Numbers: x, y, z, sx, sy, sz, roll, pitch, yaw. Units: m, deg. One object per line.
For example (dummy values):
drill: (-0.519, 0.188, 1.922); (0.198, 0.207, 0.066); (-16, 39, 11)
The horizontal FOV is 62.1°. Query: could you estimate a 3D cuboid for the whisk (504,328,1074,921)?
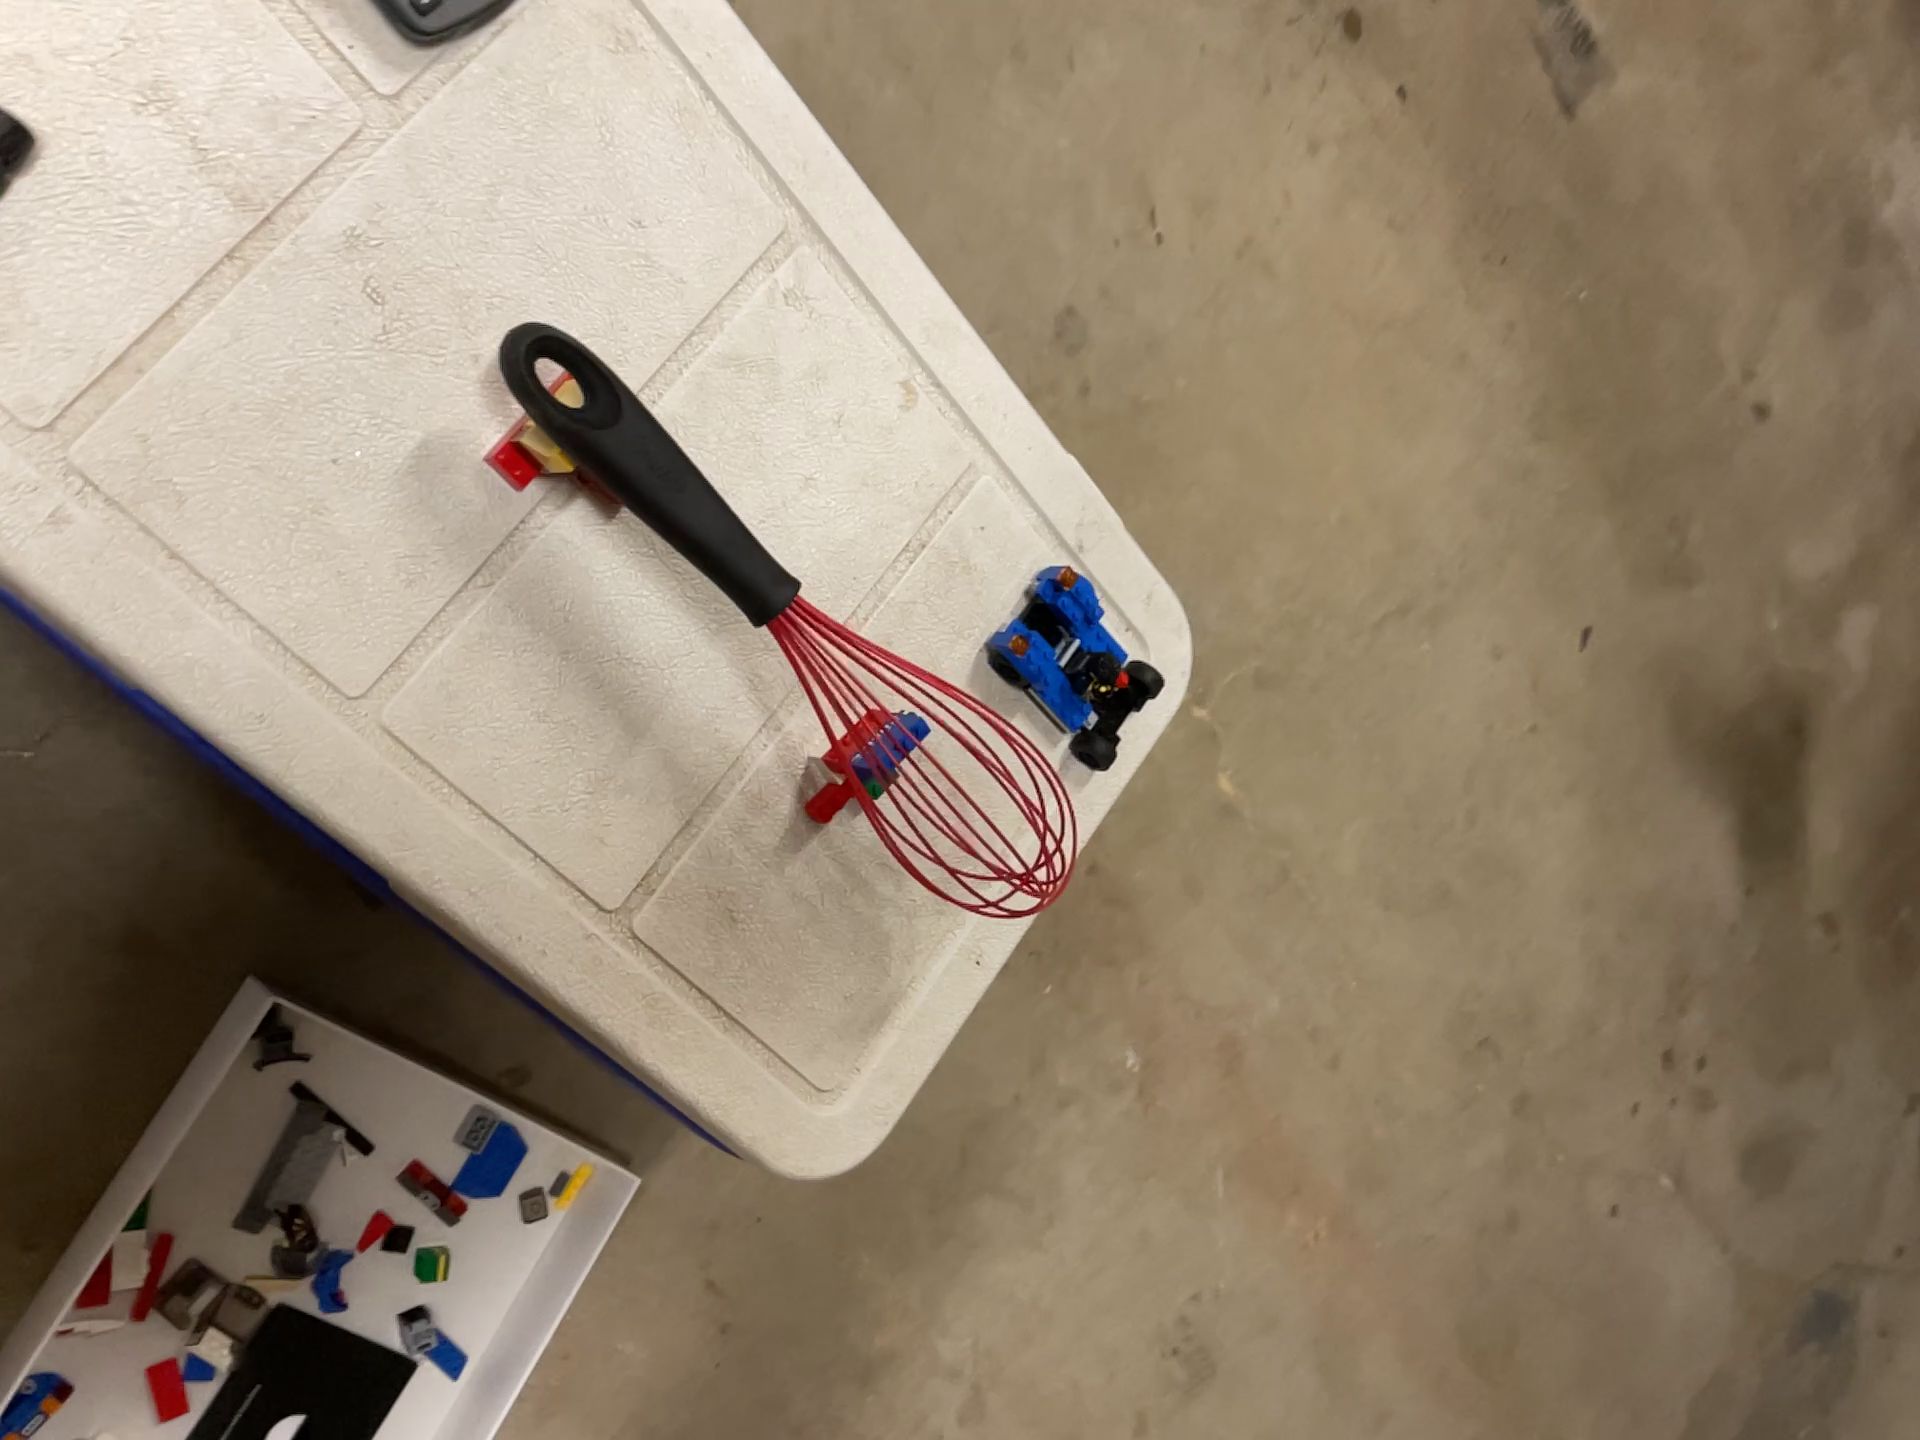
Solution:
whisk: (-0.055, -0.029, 0.589); (0.295, 0.073, 0.073); (46, 72, -21)
